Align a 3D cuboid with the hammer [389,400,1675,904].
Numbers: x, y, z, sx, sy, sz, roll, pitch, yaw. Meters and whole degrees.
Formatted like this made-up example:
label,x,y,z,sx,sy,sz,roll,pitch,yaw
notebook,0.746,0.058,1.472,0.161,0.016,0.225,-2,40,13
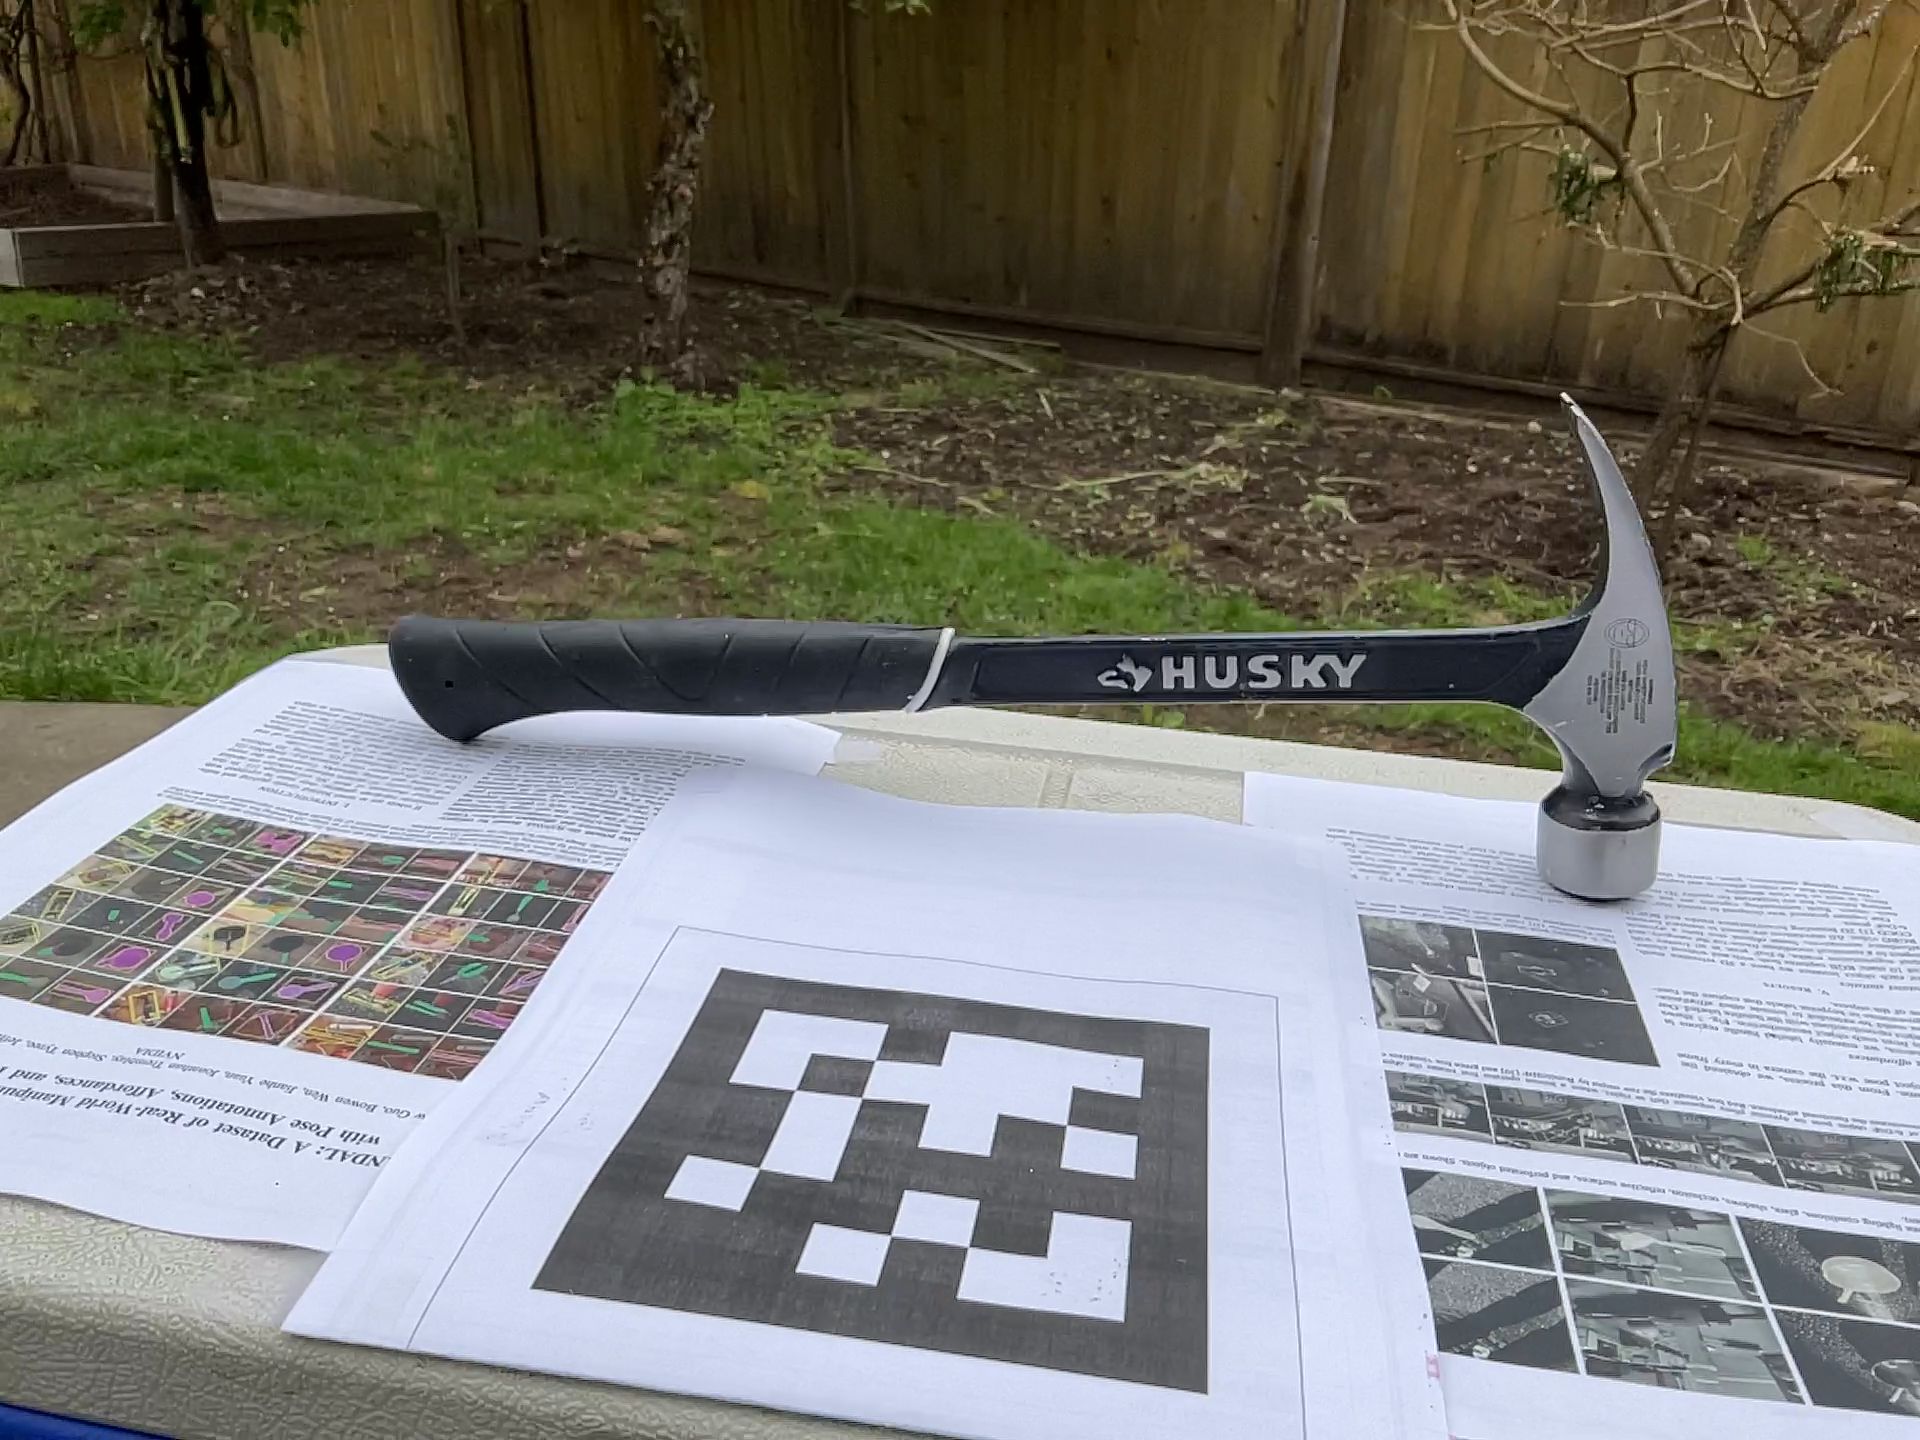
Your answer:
label,x,y,z,sx,sy,sz,roll,pitch,yaw
hammer,0.009,-0.019,0.506,0.409,0.149,0.036,0,22,12
